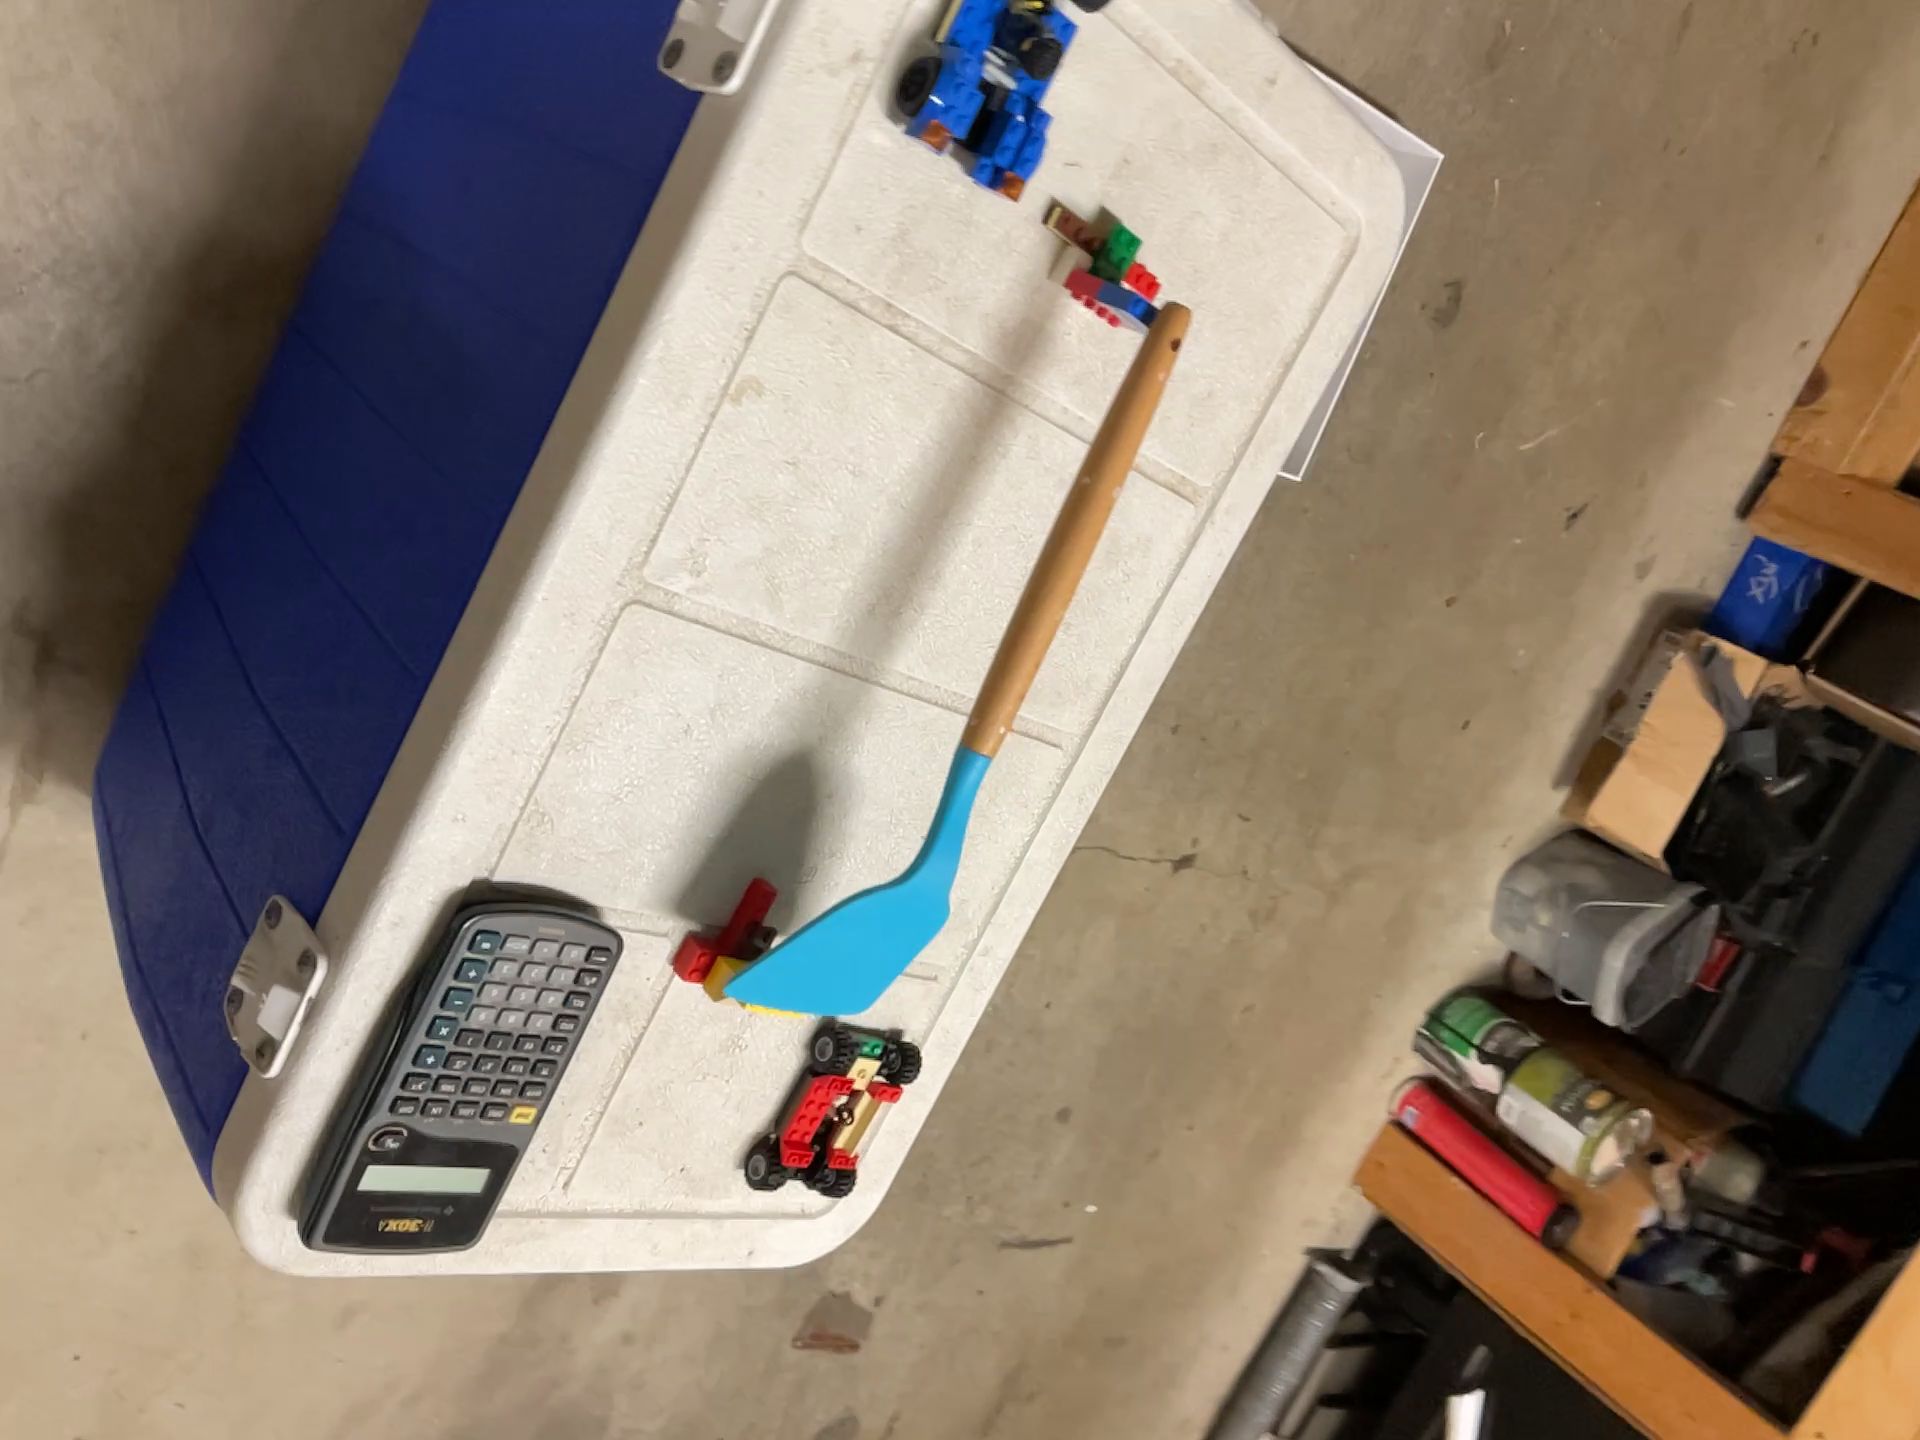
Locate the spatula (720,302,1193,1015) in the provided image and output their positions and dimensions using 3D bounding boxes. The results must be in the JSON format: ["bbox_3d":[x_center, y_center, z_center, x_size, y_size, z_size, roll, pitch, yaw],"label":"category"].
[{"bbox_3d":[0.009,-0.016,0.624,0.082,0.044,0.317,19,98,-44],"label":"spatula"}]
